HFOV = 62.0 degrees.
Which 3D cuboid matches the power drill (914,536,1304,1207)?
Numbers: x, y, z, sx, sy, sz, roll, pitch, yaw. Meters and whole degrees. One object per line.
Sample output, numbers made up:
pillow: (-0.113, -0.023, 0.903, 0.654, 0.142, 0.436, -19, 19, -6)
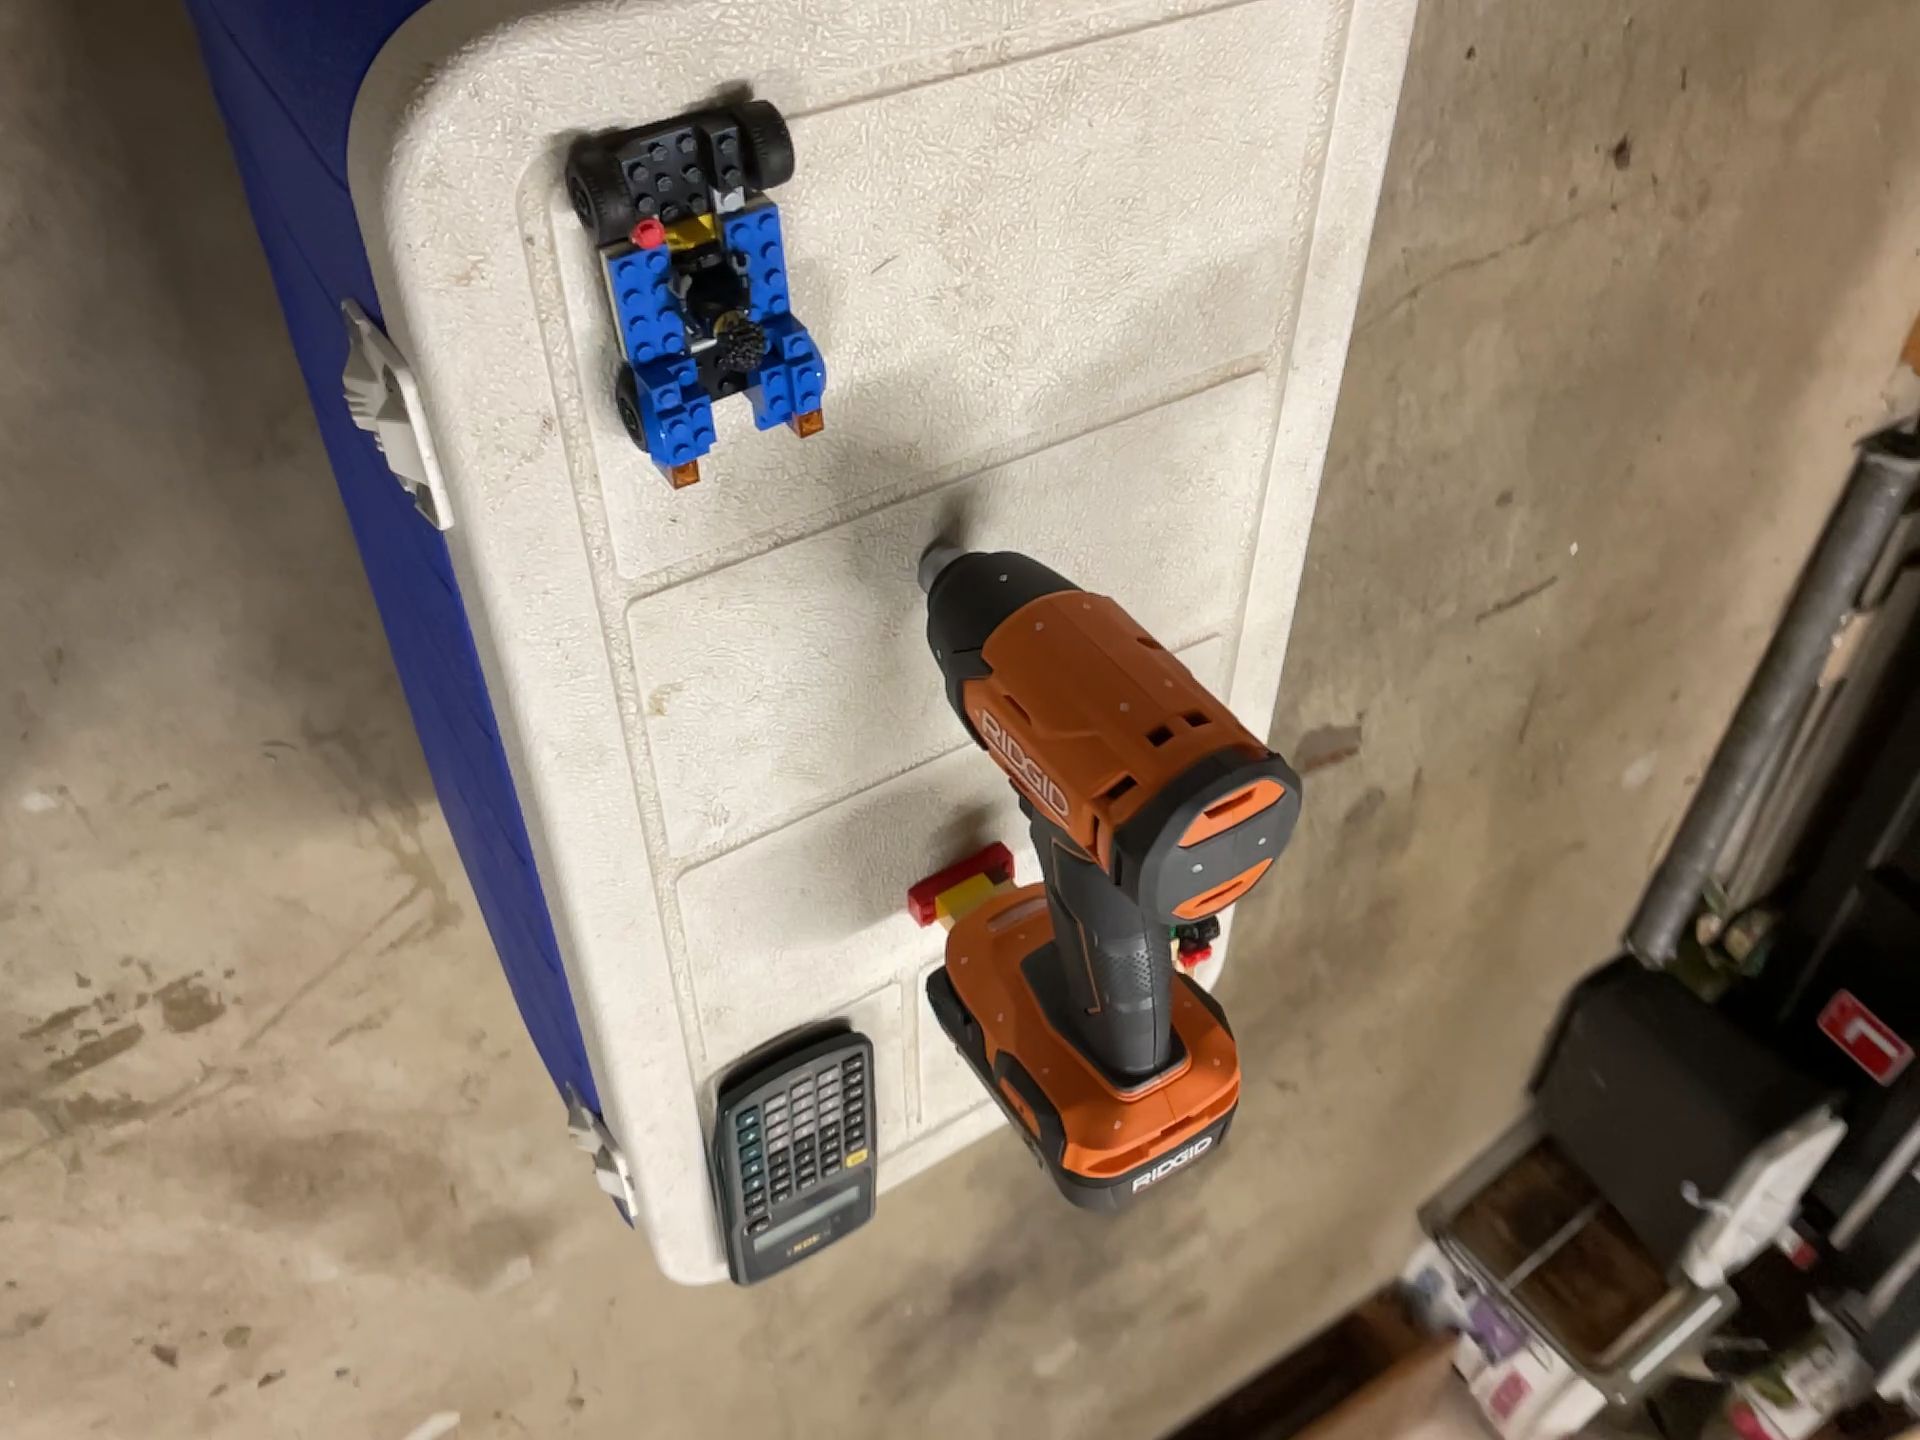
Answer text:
power drill: (0.036, 0.049, 0.558, 0.084, 0.164, 0.226, -24, 139, -21)
